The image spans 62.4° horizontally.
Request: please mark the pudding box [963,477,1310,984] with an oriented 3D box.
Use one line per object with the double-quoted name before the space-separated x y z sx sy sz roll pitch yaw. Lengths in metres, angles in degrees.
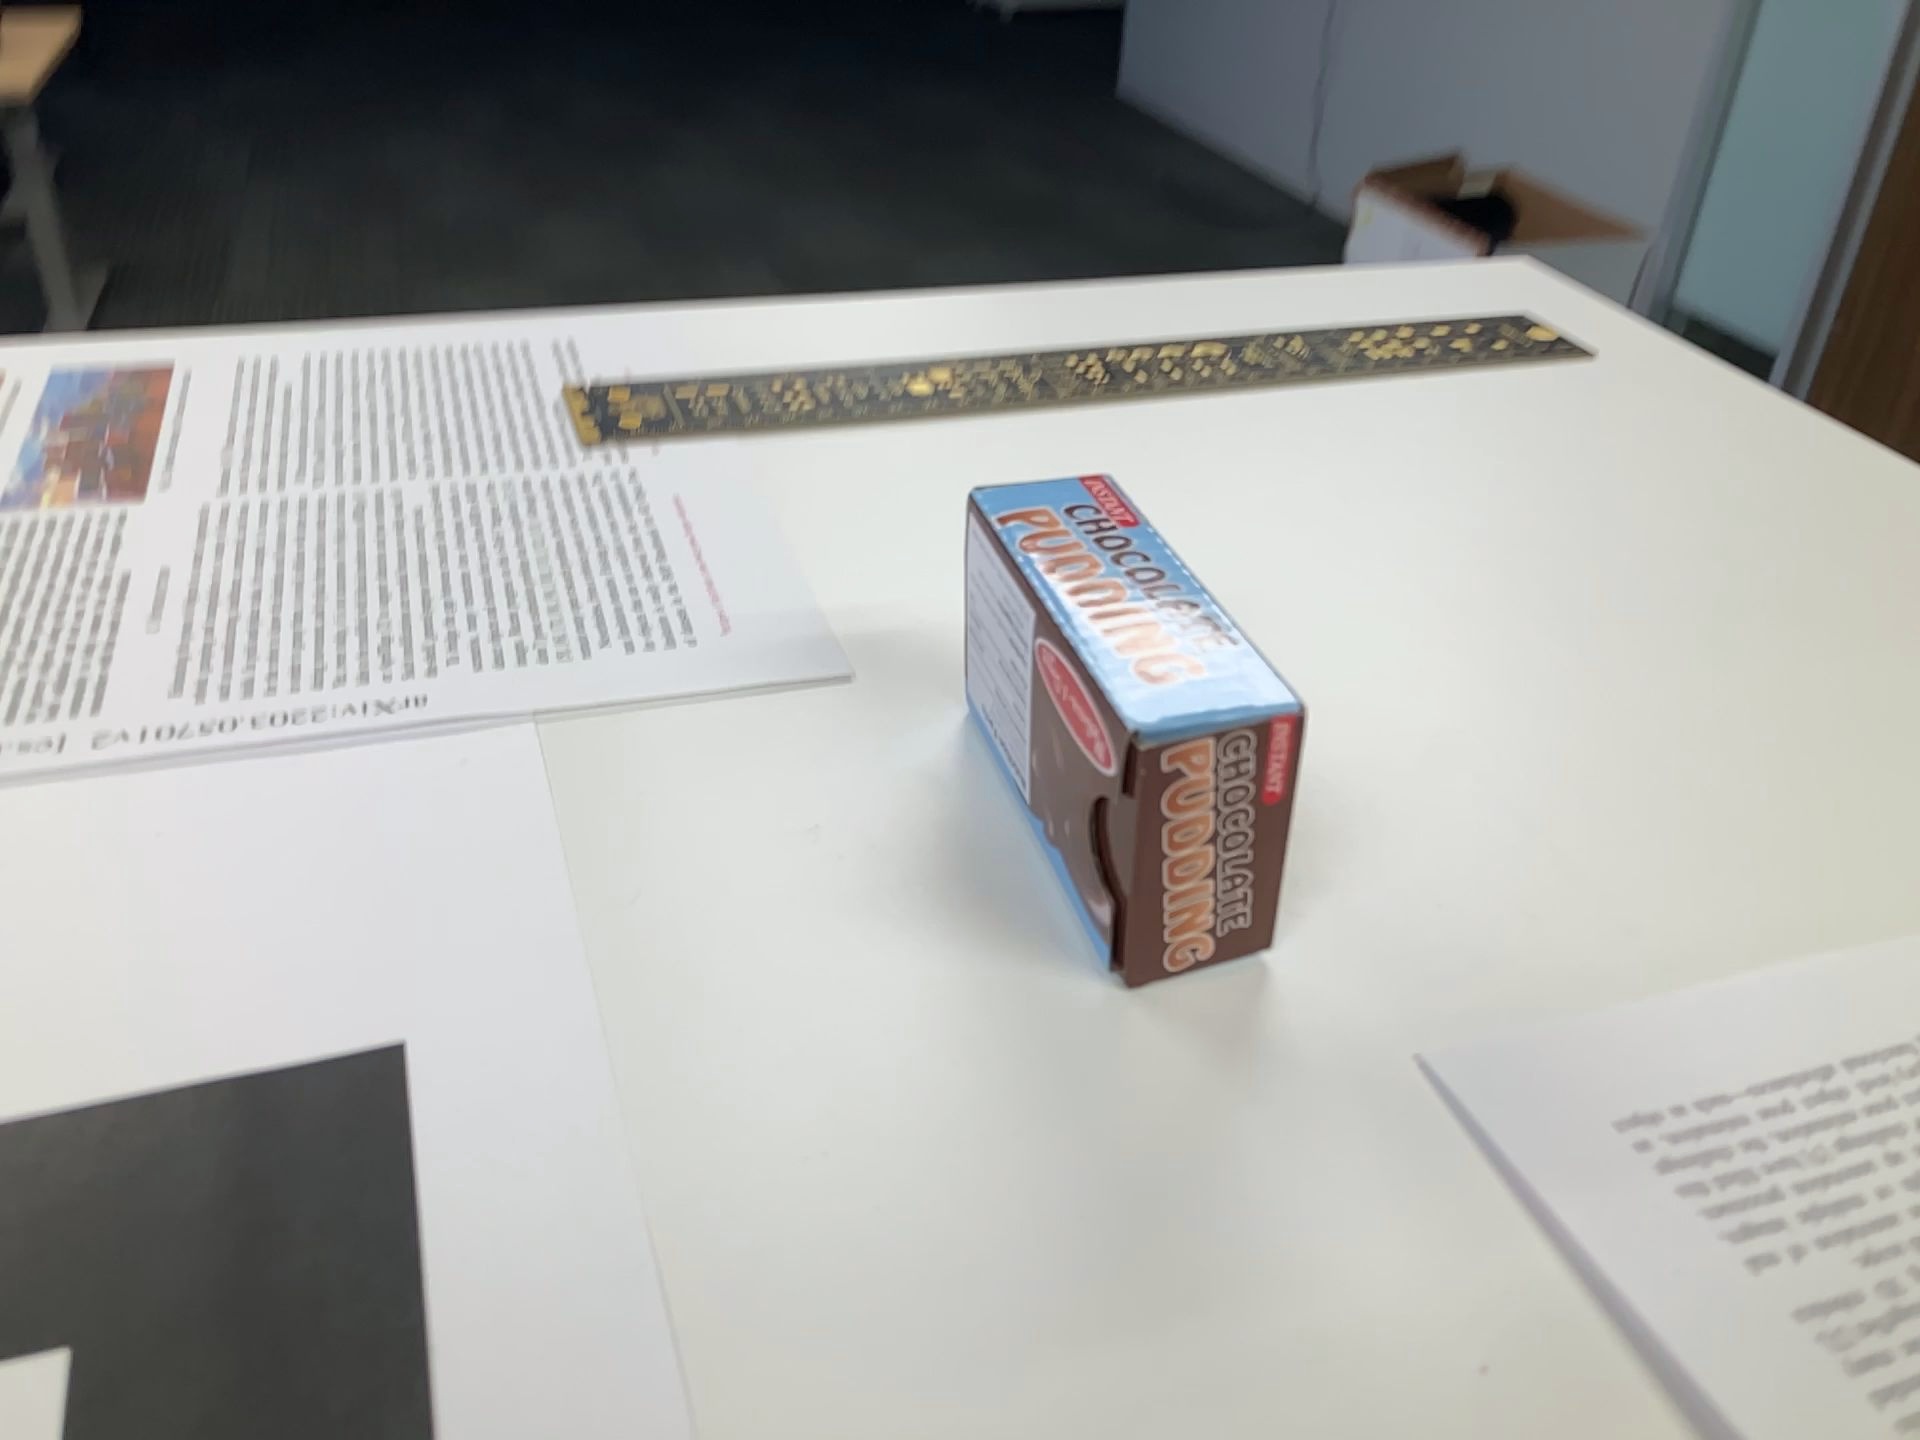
"pudding box" 0.026 -0.002 0.272 0.030 0.049 0.083 -9 35 -14
